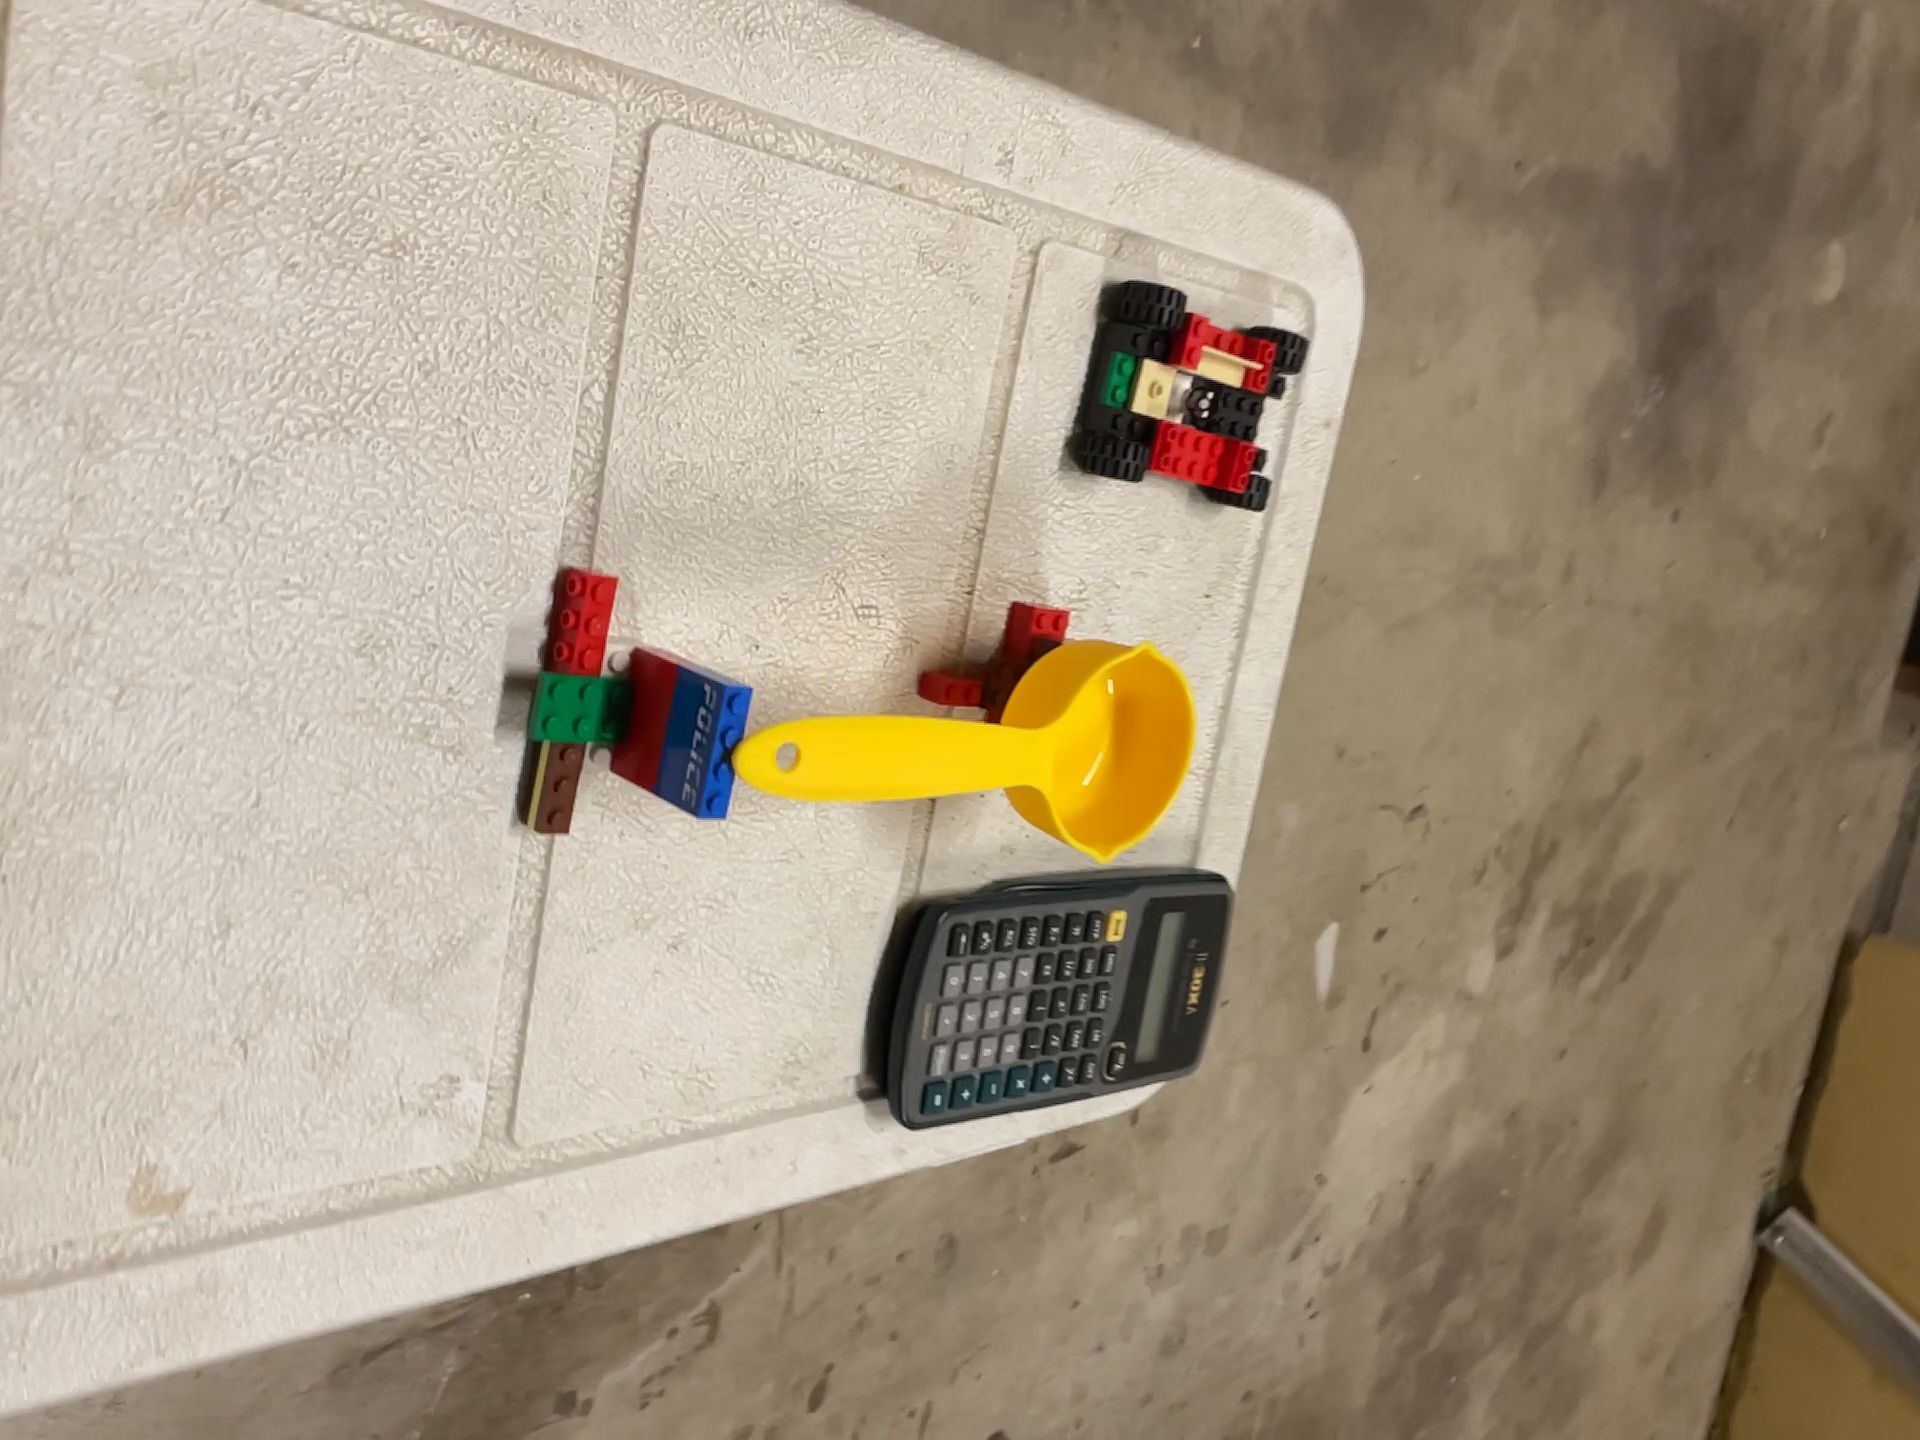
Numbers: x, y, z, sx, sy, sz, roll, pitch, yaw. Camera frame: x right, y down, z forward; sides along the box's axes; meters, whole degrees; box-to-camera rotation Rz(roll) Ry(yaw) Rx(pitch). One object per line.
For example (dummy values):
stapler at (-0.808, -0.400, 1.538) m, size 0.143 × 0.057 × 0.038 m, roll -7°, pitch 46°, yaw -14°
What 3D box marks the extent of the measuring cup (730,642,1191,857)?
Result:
measuring cup at (0.000, 0.005, 0.427) m, size 0.156 × 0.029 × 0.062 m, roll 1°, pitch 104°, yaw -40°
